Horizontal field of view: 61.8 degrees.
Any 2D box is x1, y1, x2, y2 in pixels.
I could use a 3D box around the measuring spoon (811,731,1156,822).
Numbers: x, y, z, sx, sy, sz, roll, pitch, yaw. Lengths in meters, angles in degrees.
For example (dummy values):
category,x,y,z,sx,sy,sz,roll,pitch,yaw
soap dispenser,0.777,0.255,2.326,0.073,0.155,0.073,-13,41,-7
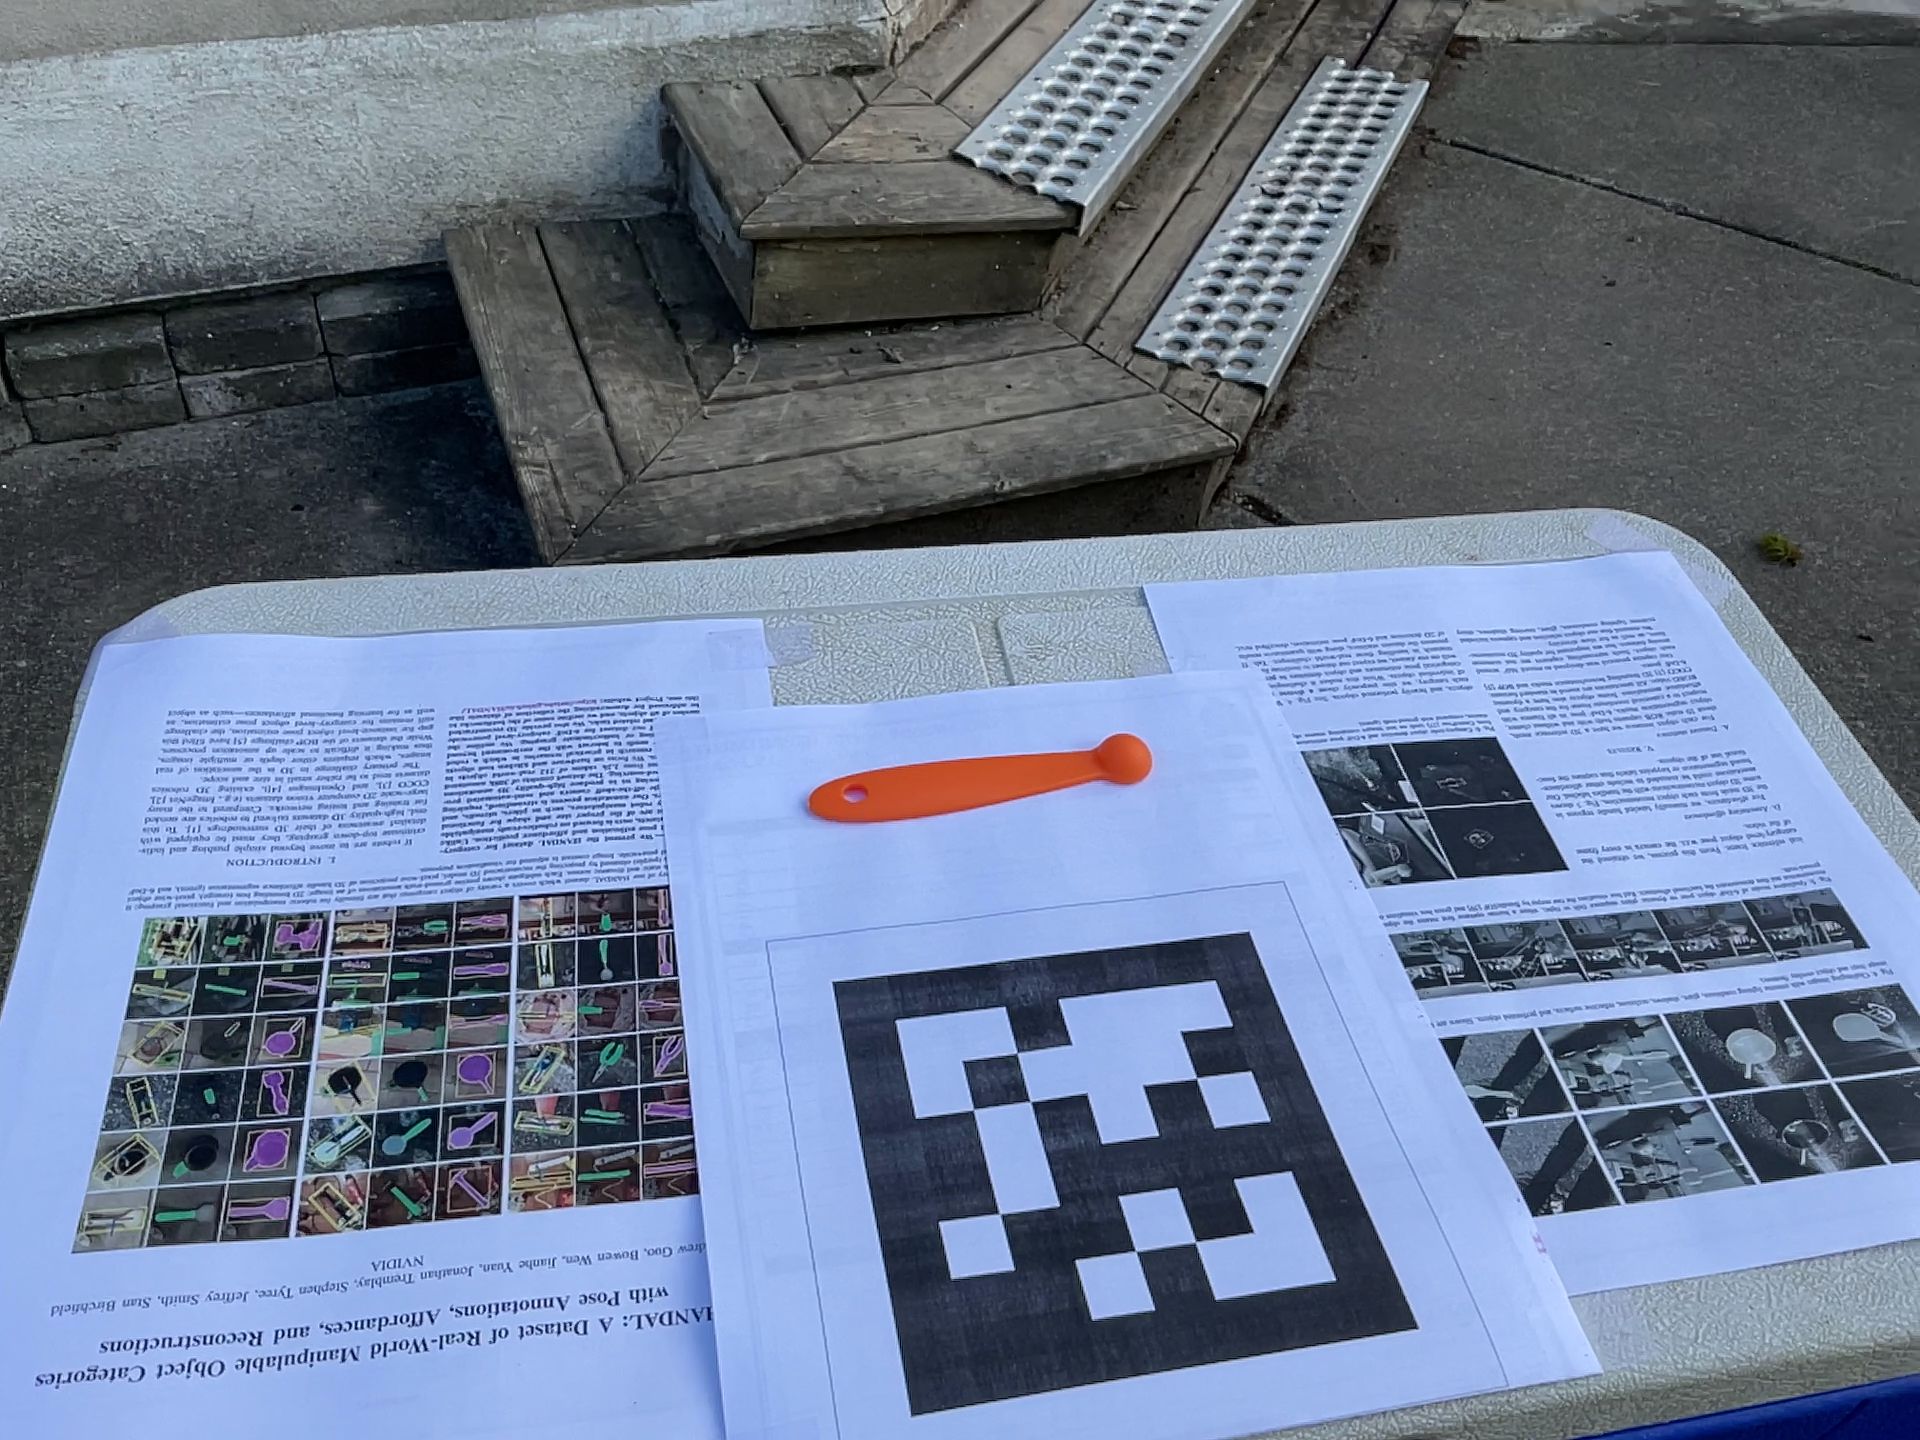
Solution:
category,x,y,z,sx,sy,sz,roll,pitch,yaw
measuring spoon,0.009,0.017,0.525,0.117,0.011,0.021,-8,43,-13
